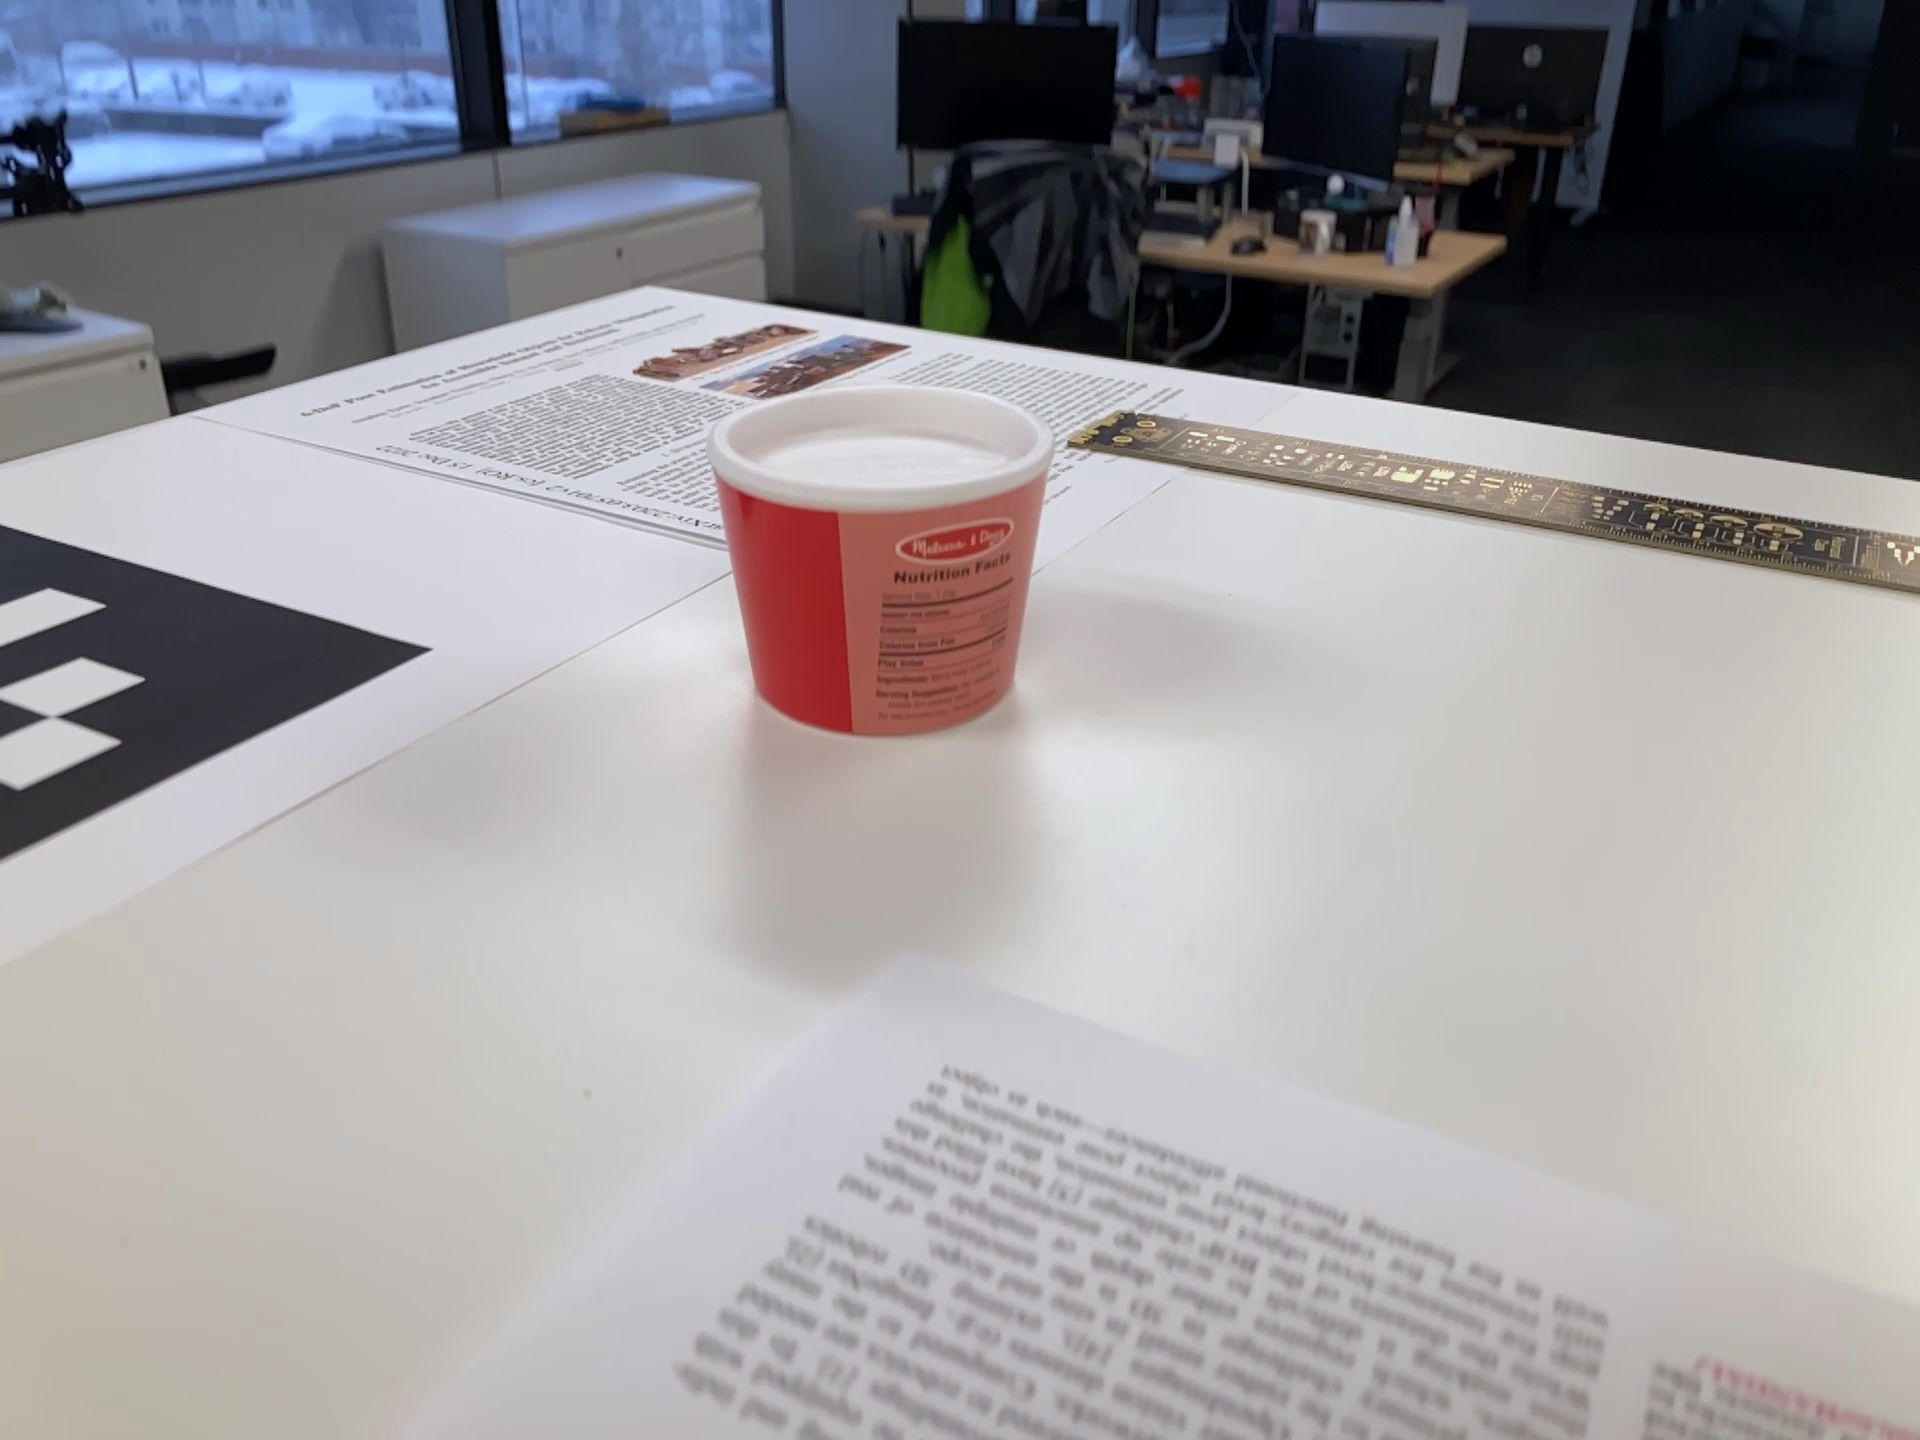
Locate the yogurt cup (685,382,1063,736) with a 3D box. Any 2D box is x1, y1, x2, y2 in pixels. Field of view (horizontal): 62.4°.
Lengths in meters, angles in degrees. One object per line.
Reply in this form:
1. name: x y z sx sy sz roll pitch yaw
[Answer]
1. yogurt cup: -0.015 -0.033 0.317 0.072 0.054 0.072 1 28 0
